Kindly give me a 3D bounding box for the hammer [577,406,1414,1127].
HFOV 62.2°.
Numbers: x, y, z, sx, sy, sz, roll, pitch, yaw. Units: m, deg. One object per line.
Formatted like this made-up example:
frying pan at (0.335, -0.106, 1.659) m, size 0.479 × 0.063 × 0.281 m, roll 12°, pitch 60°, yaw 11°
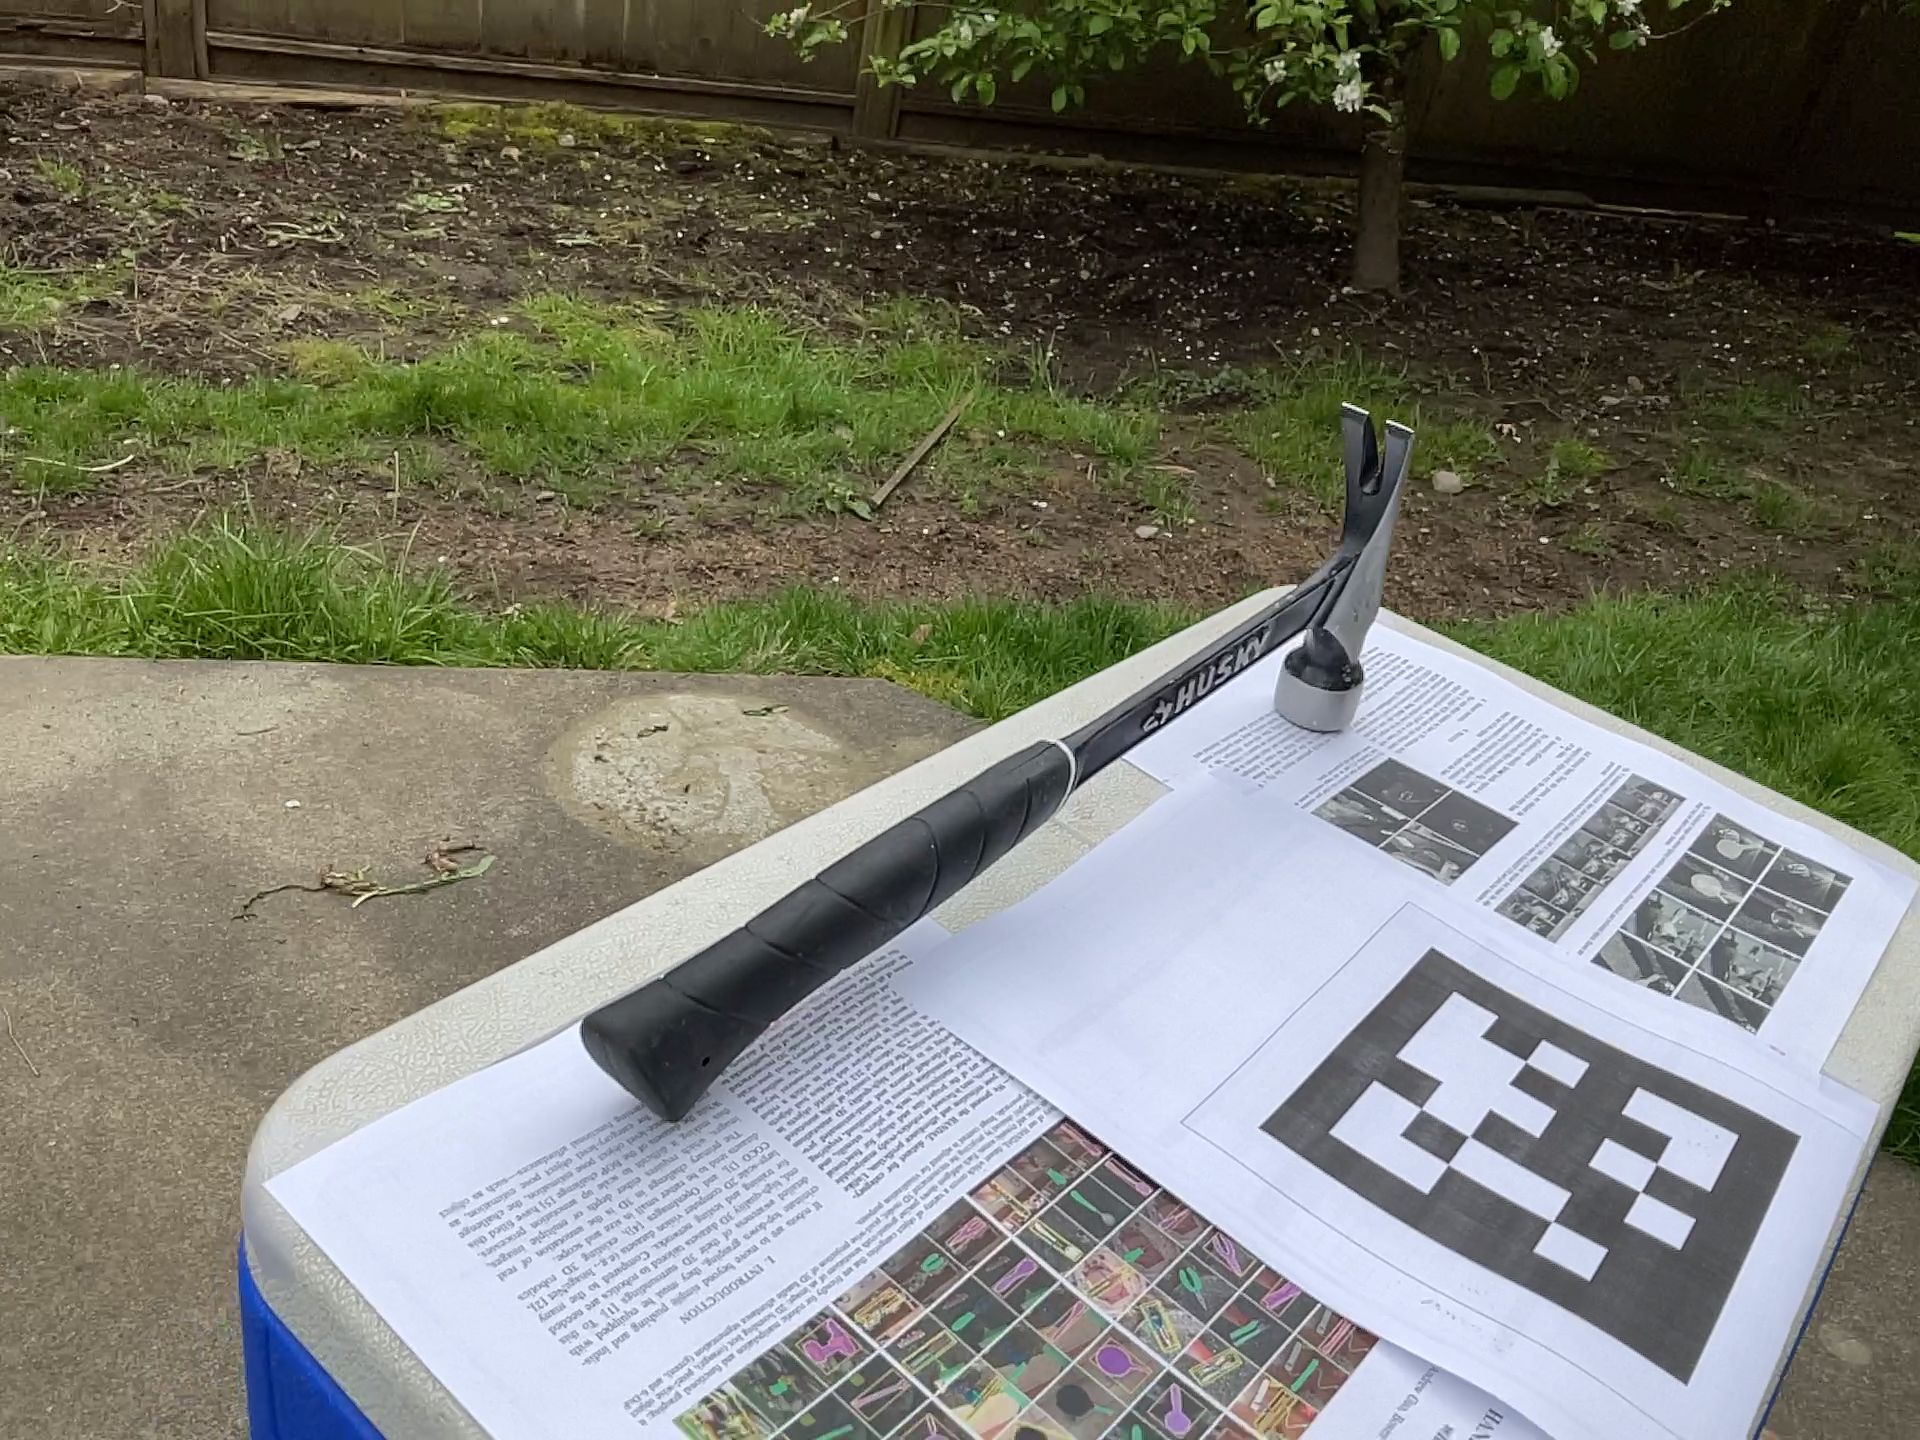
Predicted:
hammer at (0.042, 0.011, 0.543) m, size 0.036 × 0.149 × 0.409 m, roll 30°, pitch 42°, yaw 29°
